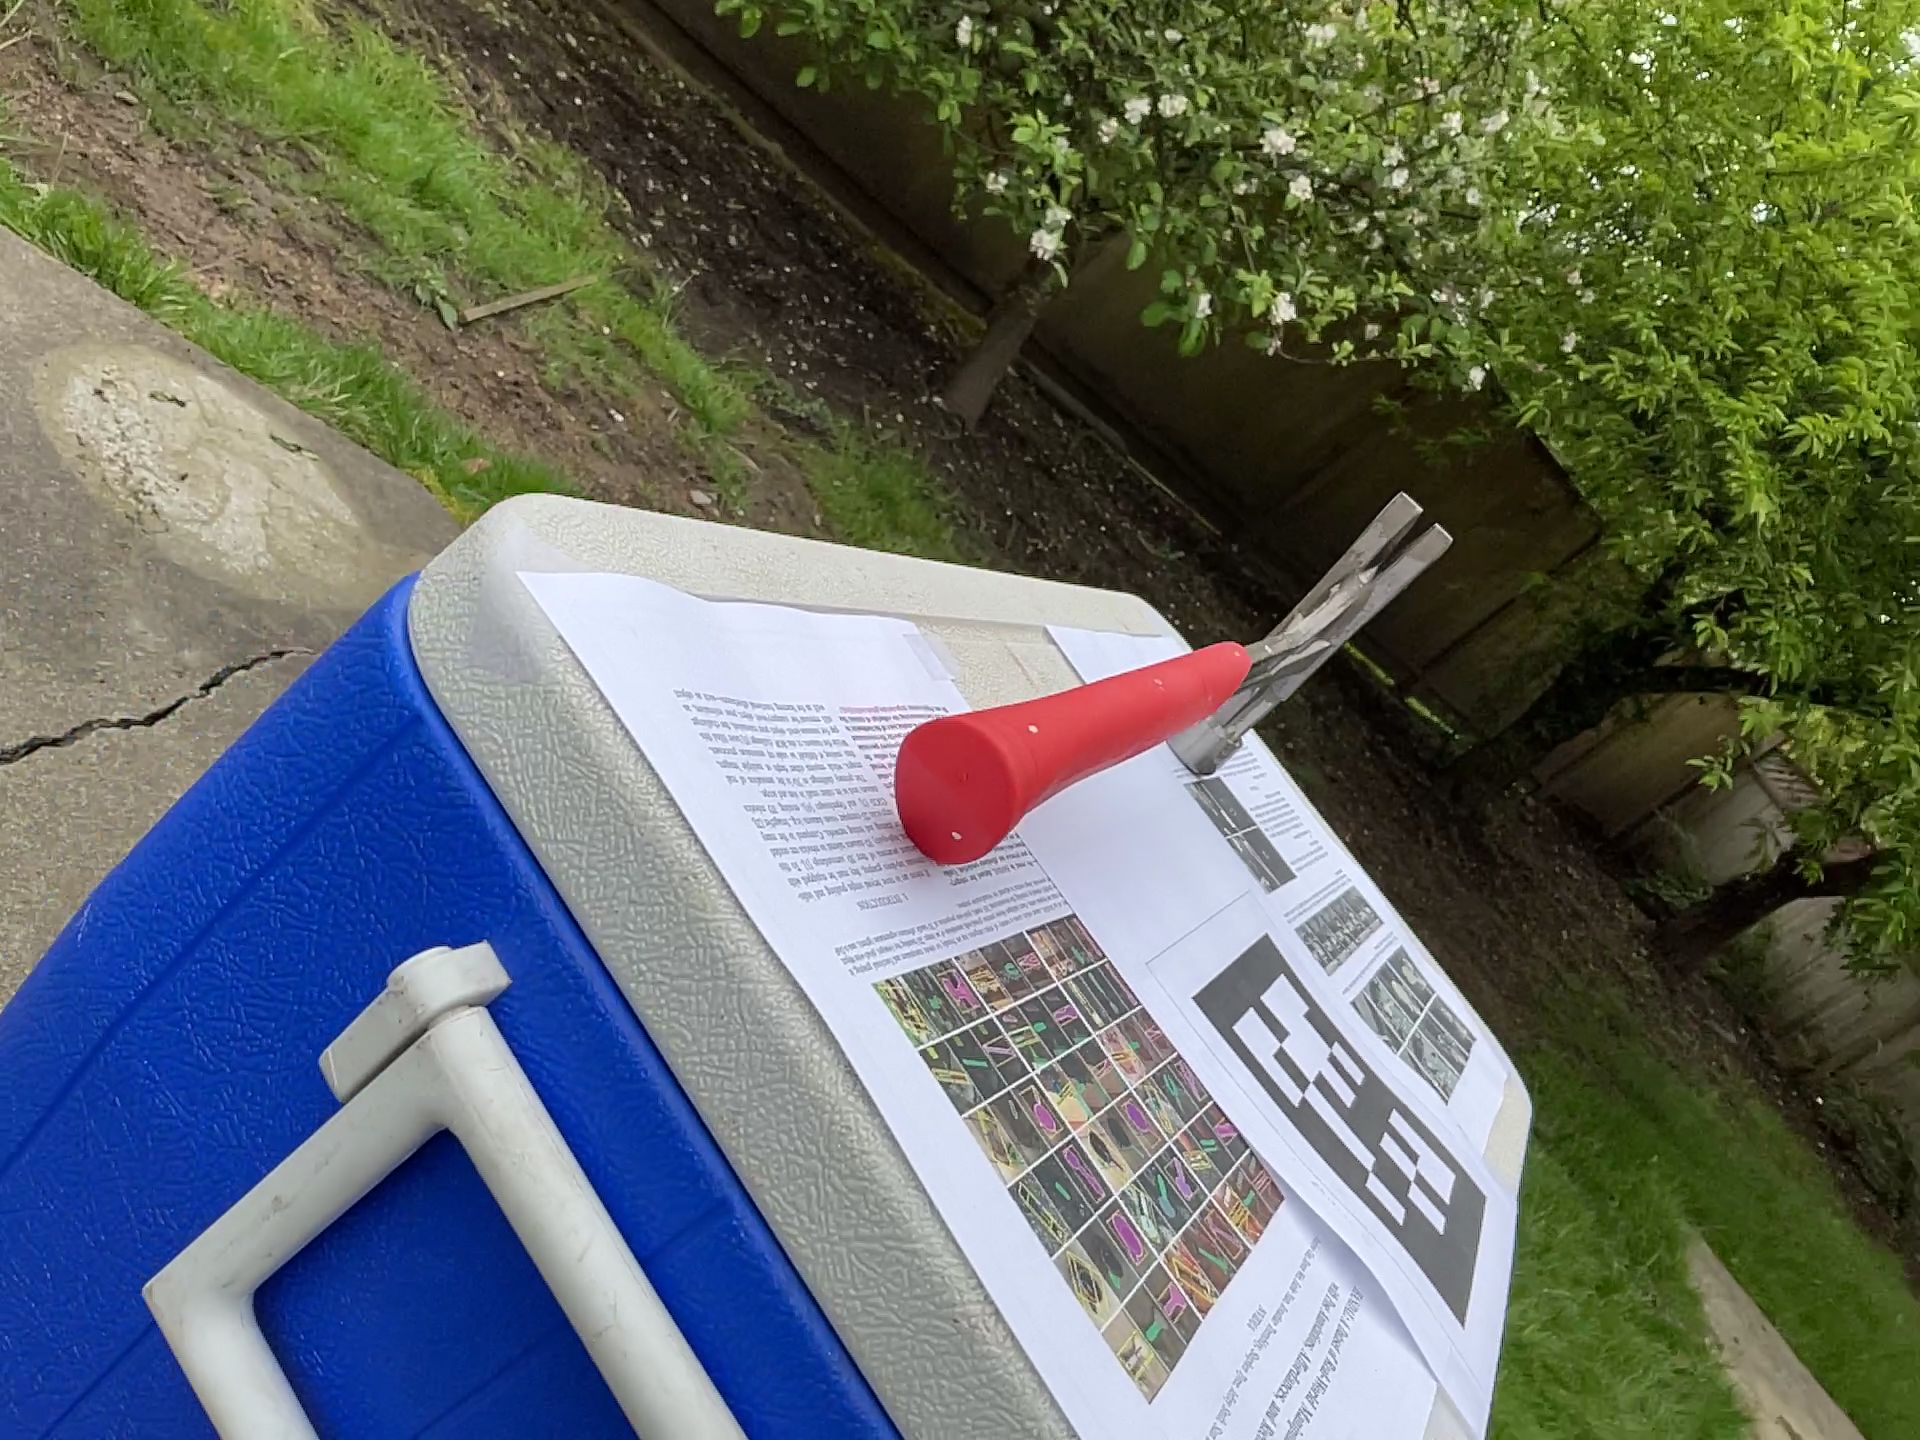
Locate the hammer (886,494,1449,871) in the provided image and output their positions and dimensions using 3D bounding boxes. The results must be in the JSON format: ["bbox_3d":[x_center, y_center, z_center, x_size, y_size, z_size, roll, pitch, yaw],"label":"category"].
[{"bbox_3d":[0.079,-0.013,0.552,0.037,0.149,0.359,47,23,12],"label":"hammer"}]
